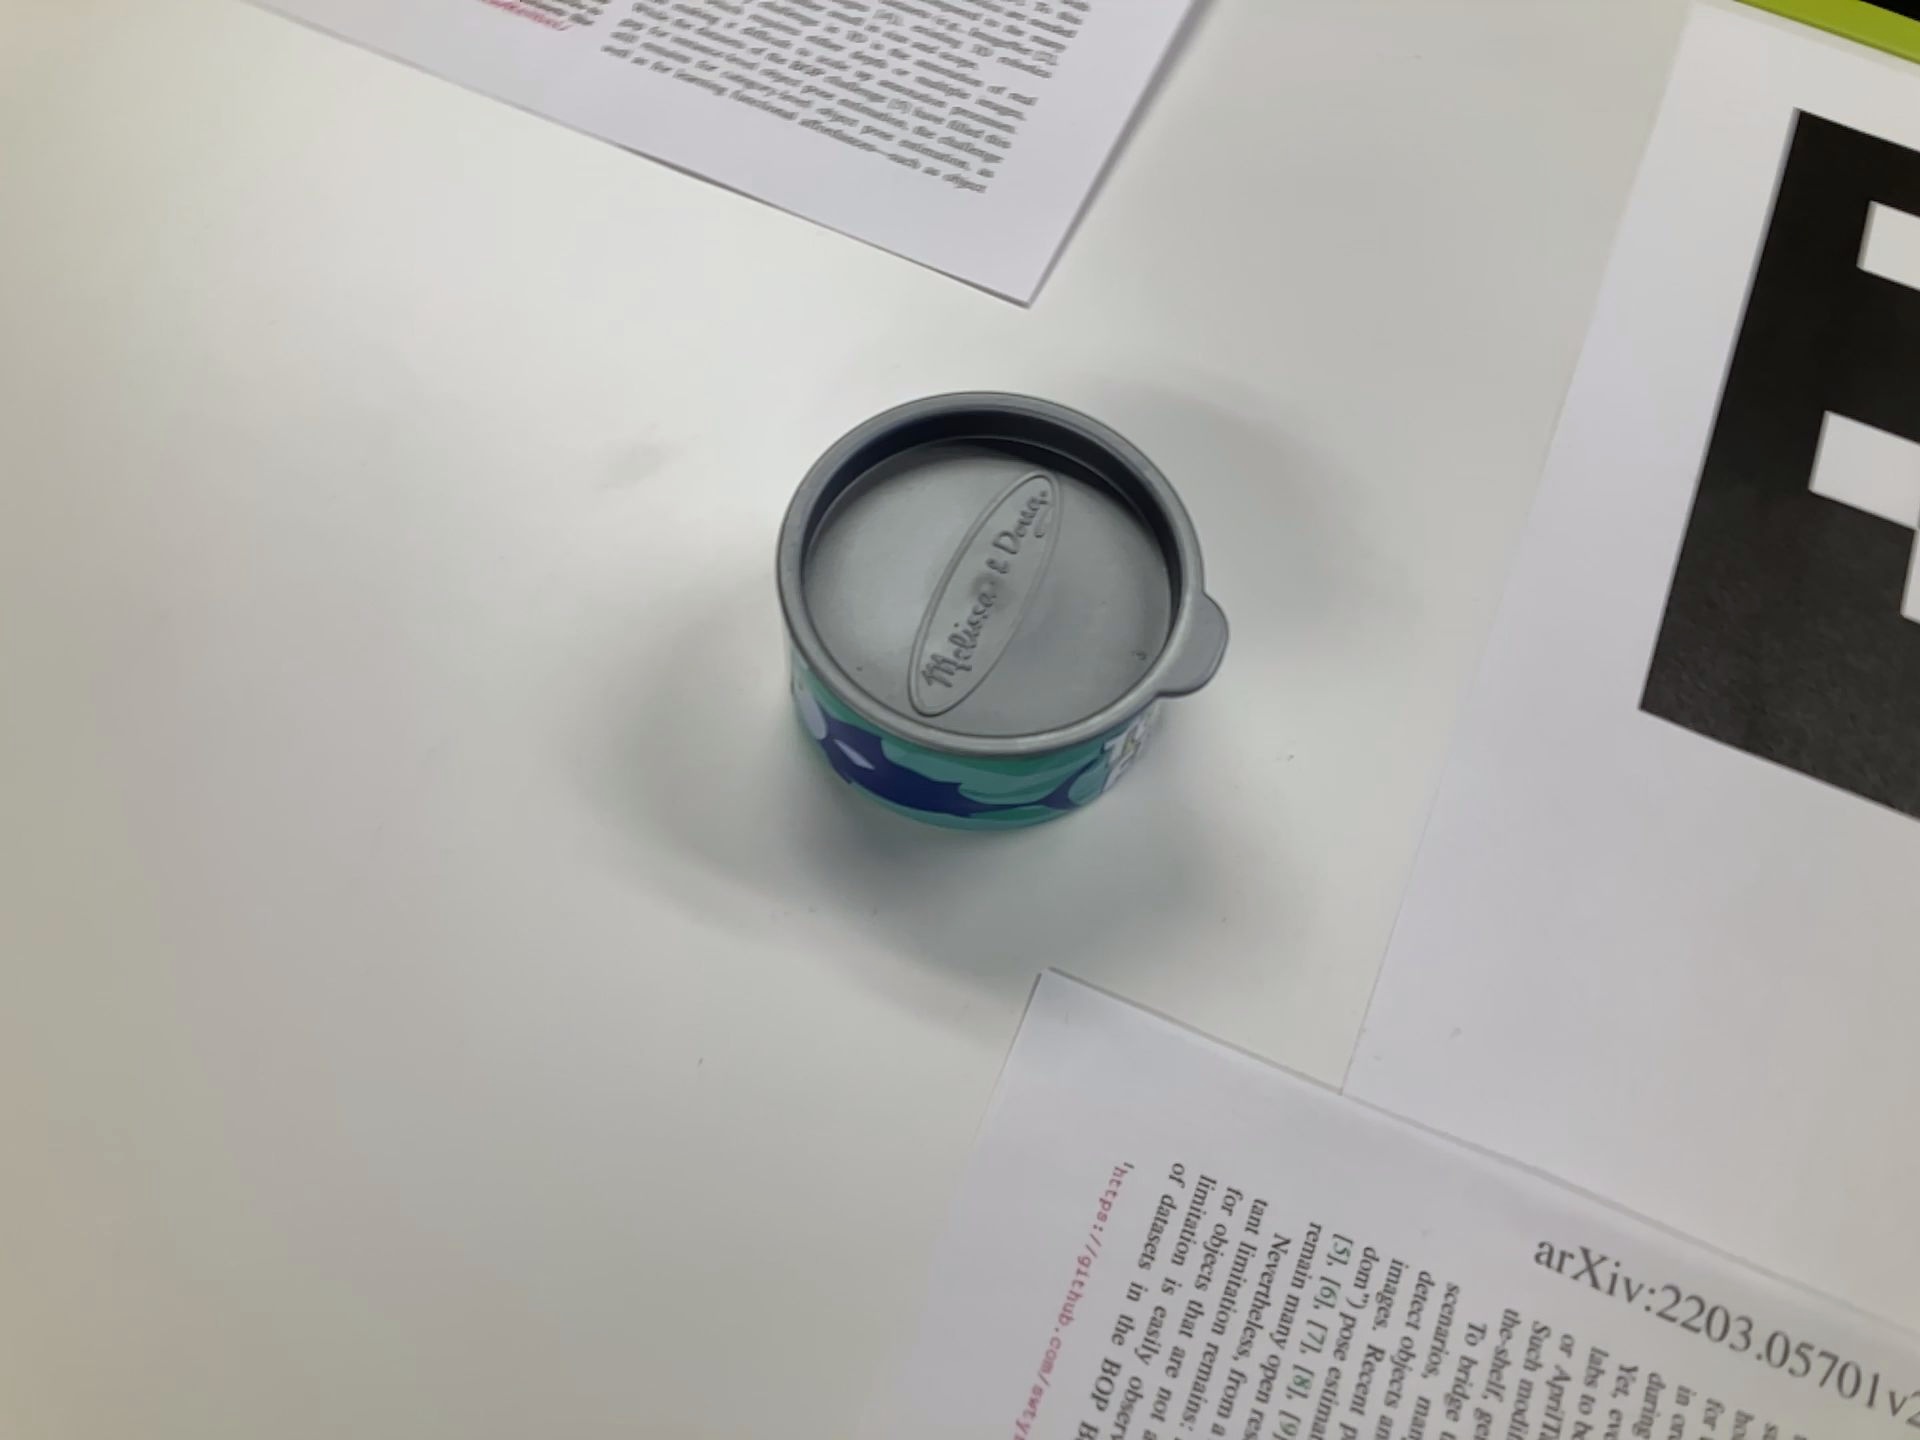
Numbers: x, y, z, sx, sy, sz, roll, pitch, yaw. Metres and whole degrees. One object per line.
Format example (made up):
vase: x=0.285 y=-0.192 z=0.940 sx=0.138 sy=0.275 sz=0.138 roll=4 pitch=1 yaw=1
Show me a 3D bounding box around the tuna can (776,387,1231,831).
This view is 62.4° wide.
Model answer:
tuna can: x=0.006 y=-0.017 z=0.256 sx=0.071 sy=0.033 sz=0.071 roll=2 pitch=63 yaw=-4
